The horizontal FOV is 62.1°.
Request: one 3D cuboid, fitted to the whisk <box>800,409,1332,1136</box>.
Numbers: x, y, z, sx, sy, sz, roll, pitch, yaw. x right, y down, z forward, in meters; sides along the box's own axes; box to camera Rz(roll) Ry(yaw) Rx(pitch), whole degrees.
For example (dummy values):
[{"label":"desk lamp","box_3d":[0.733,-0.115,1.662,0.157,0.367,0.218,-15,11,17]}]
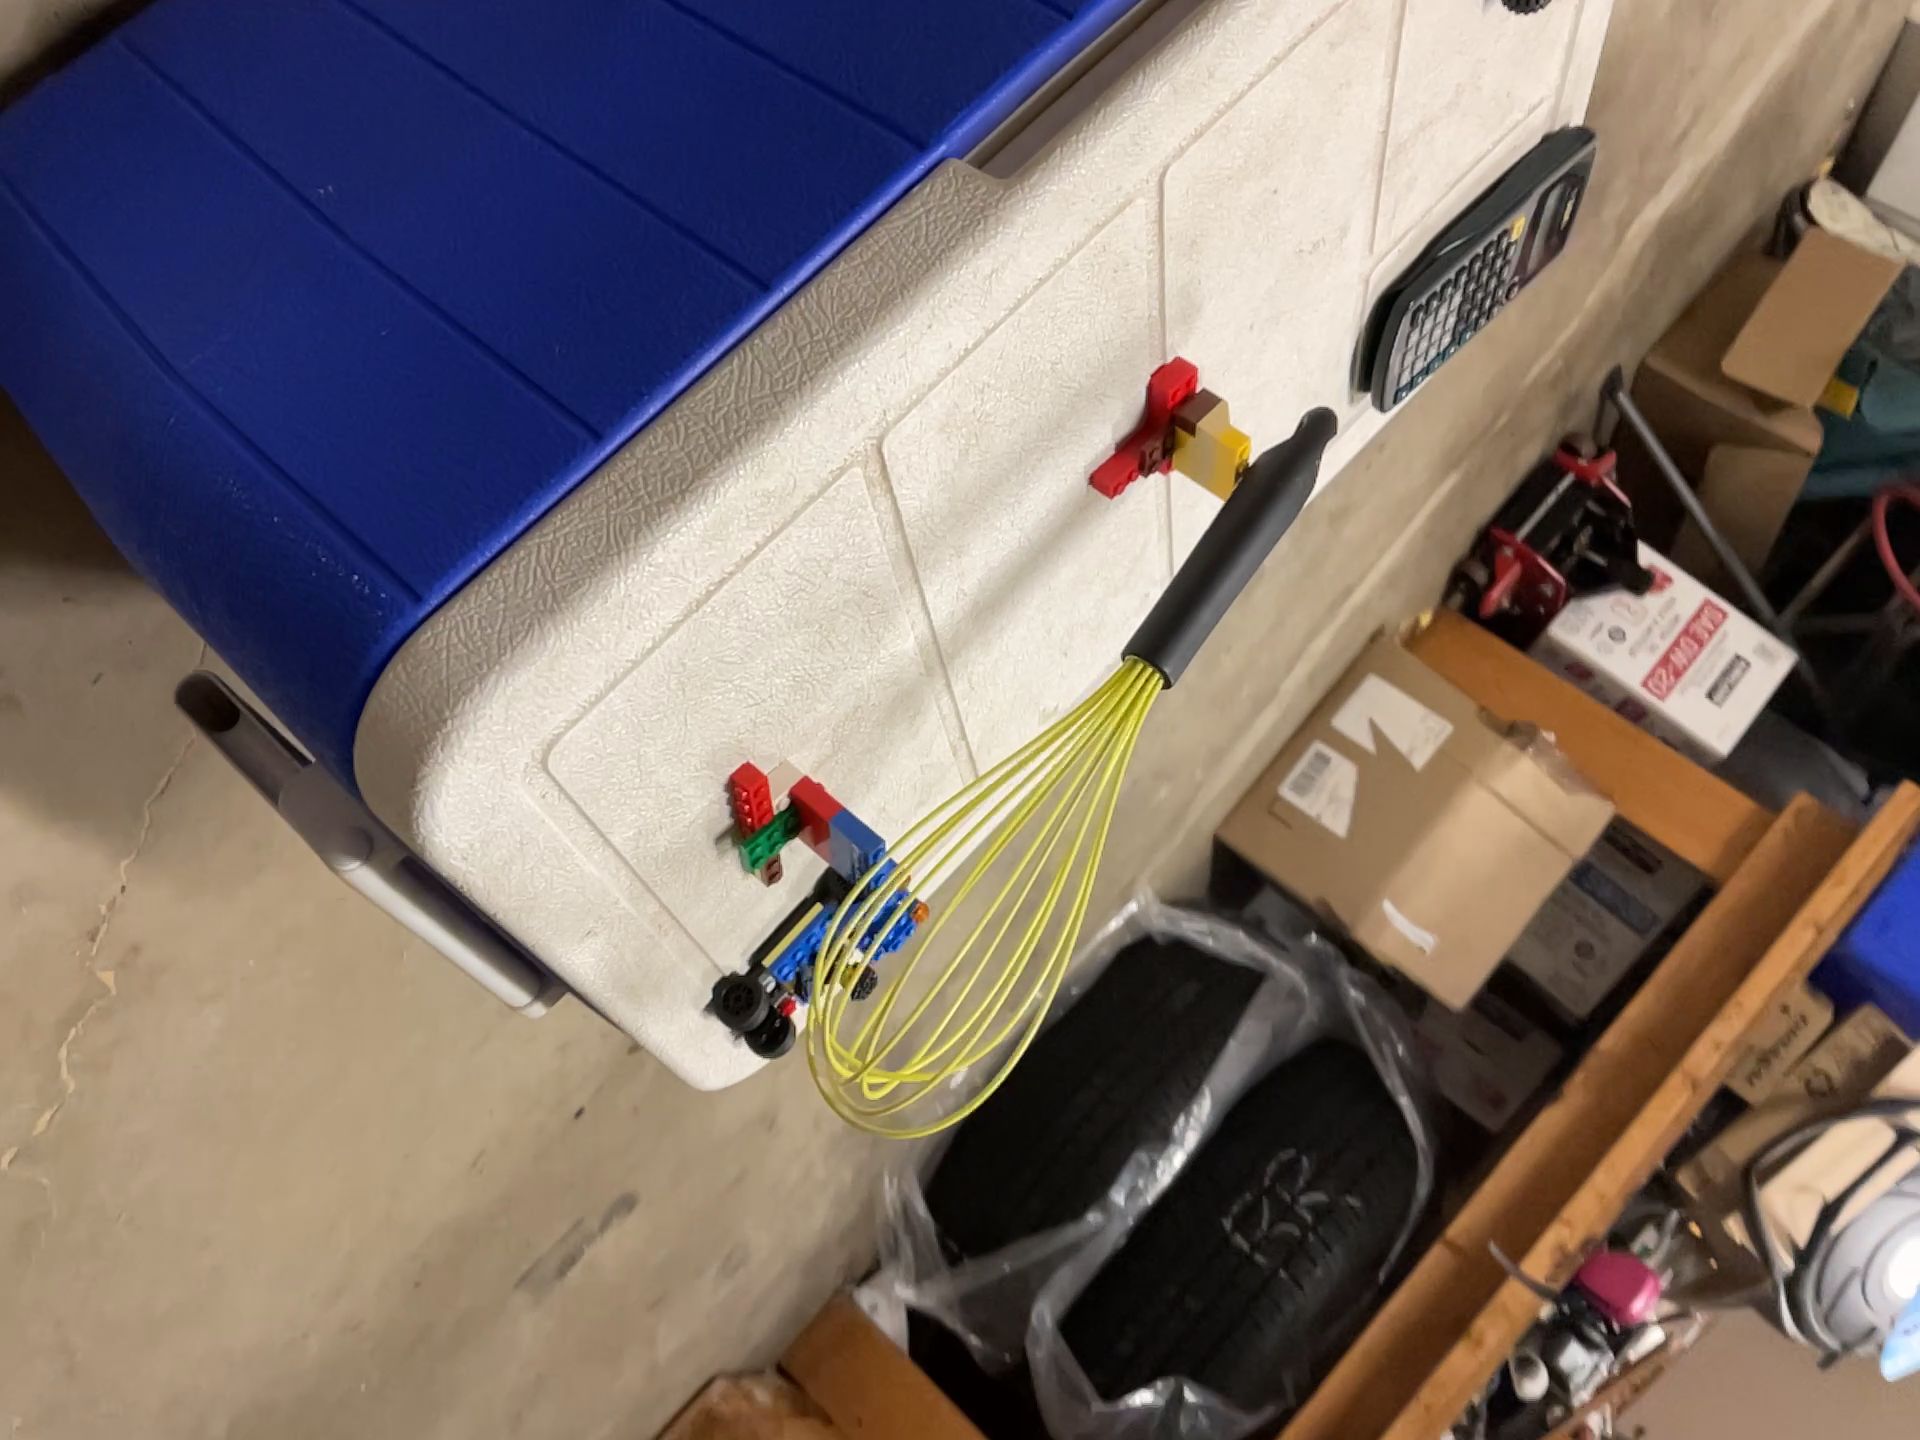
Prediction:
[{"label":"whisk","box_3d":[0.047,0.005,0.556,0.312,0.067,0.080,-54,-156,-16]}]
